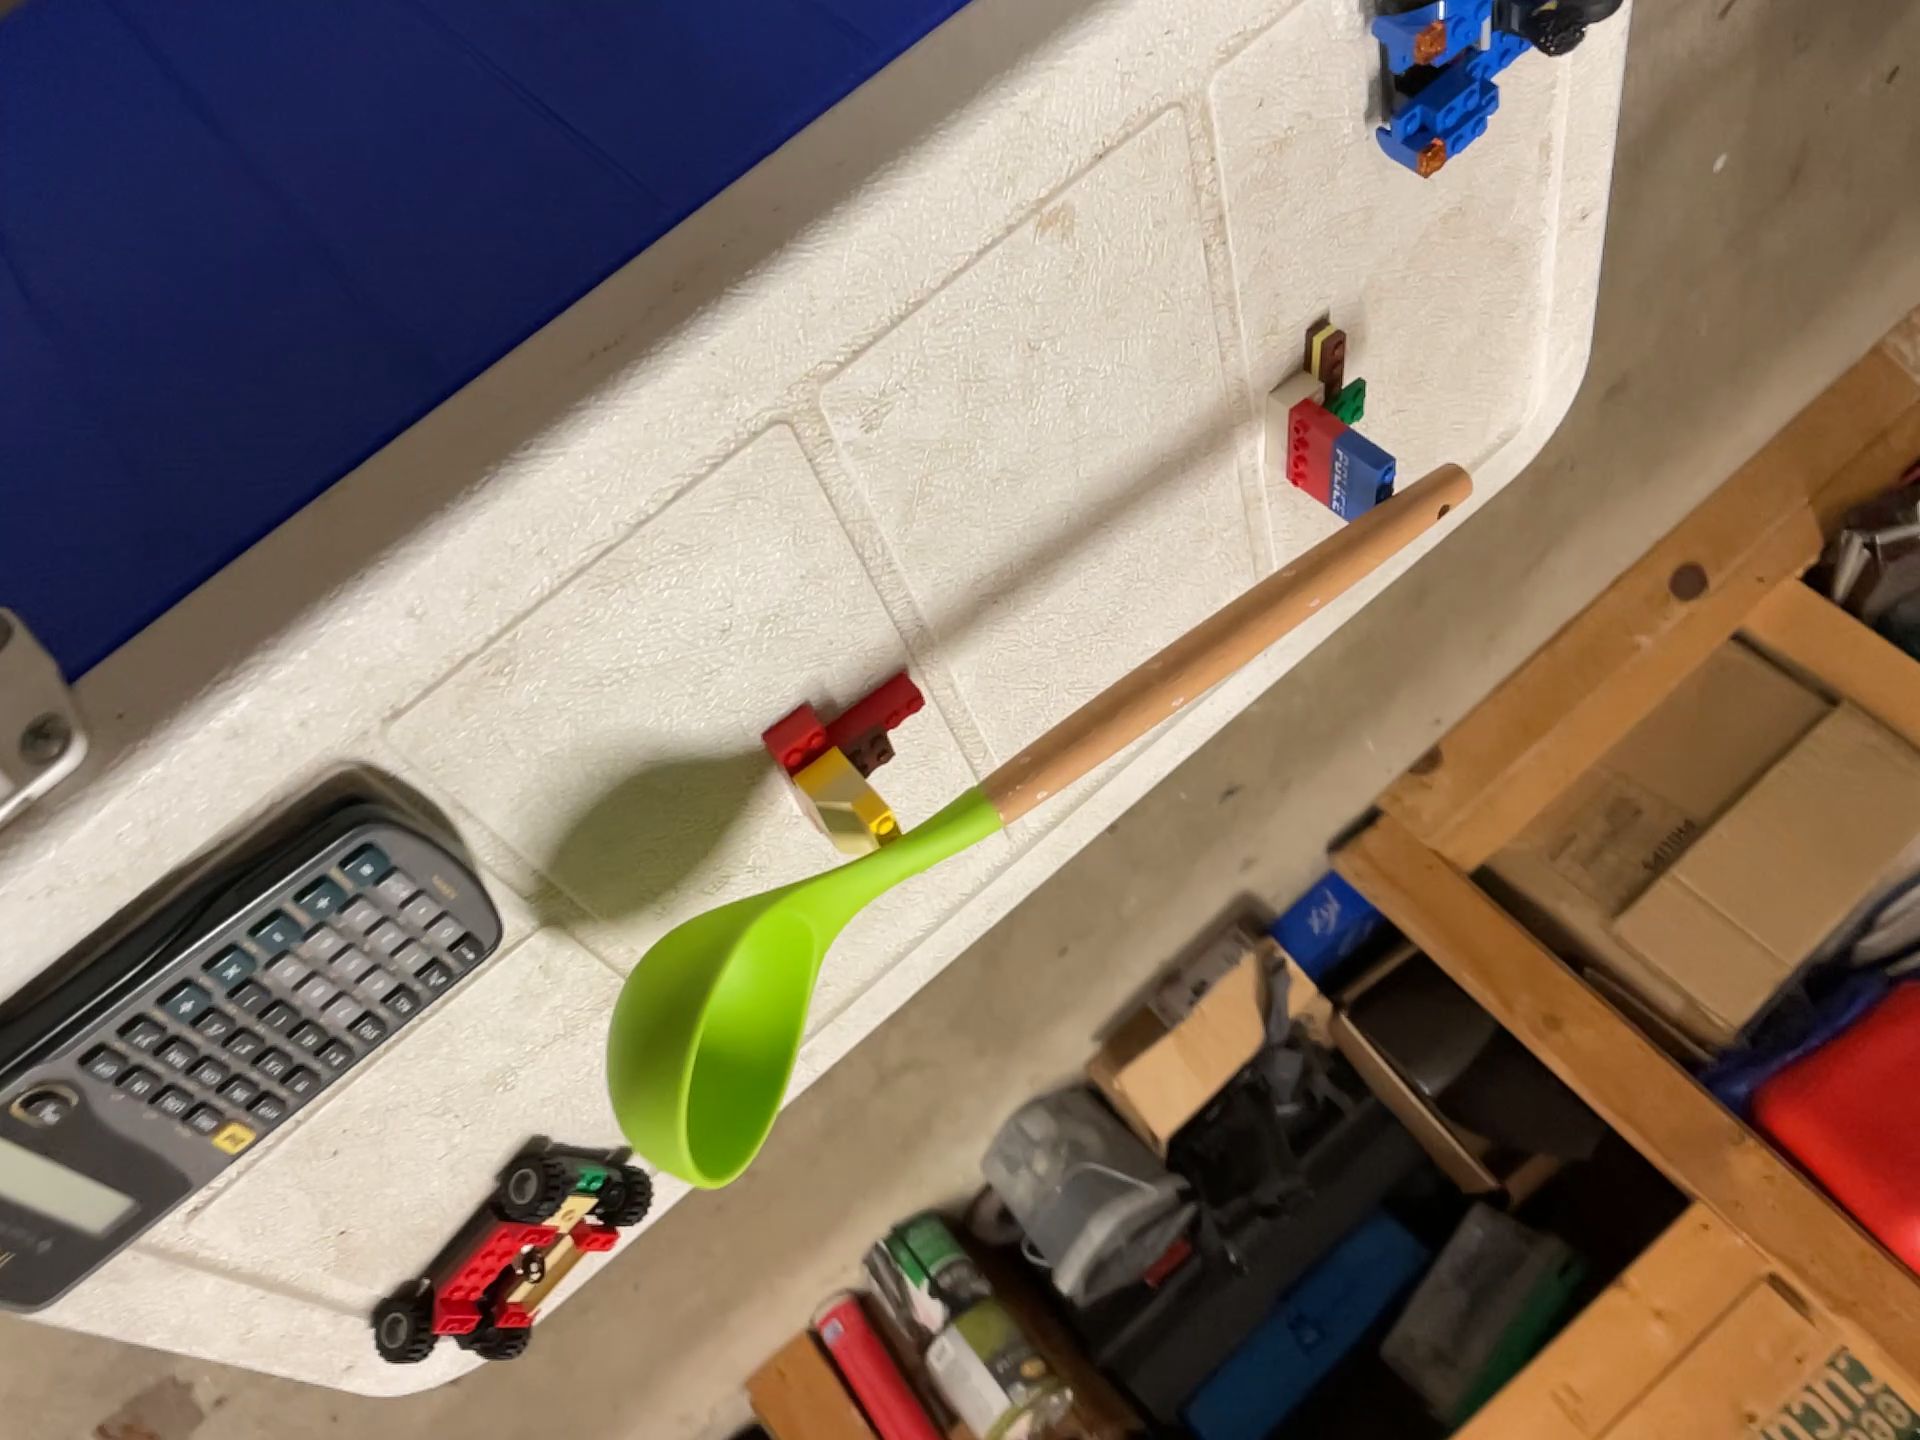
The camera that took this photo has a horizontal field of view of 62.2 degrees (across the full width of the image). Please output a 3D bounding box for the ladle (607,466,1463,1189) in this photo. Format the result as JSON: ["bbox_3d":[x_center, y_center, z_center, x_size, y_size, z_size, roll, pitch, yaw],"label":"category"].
[{"bbox_3d":[0.035,0.019,0.468,0.320,0.062,0.078,-34,147,-13],"label":"ladle"}]
